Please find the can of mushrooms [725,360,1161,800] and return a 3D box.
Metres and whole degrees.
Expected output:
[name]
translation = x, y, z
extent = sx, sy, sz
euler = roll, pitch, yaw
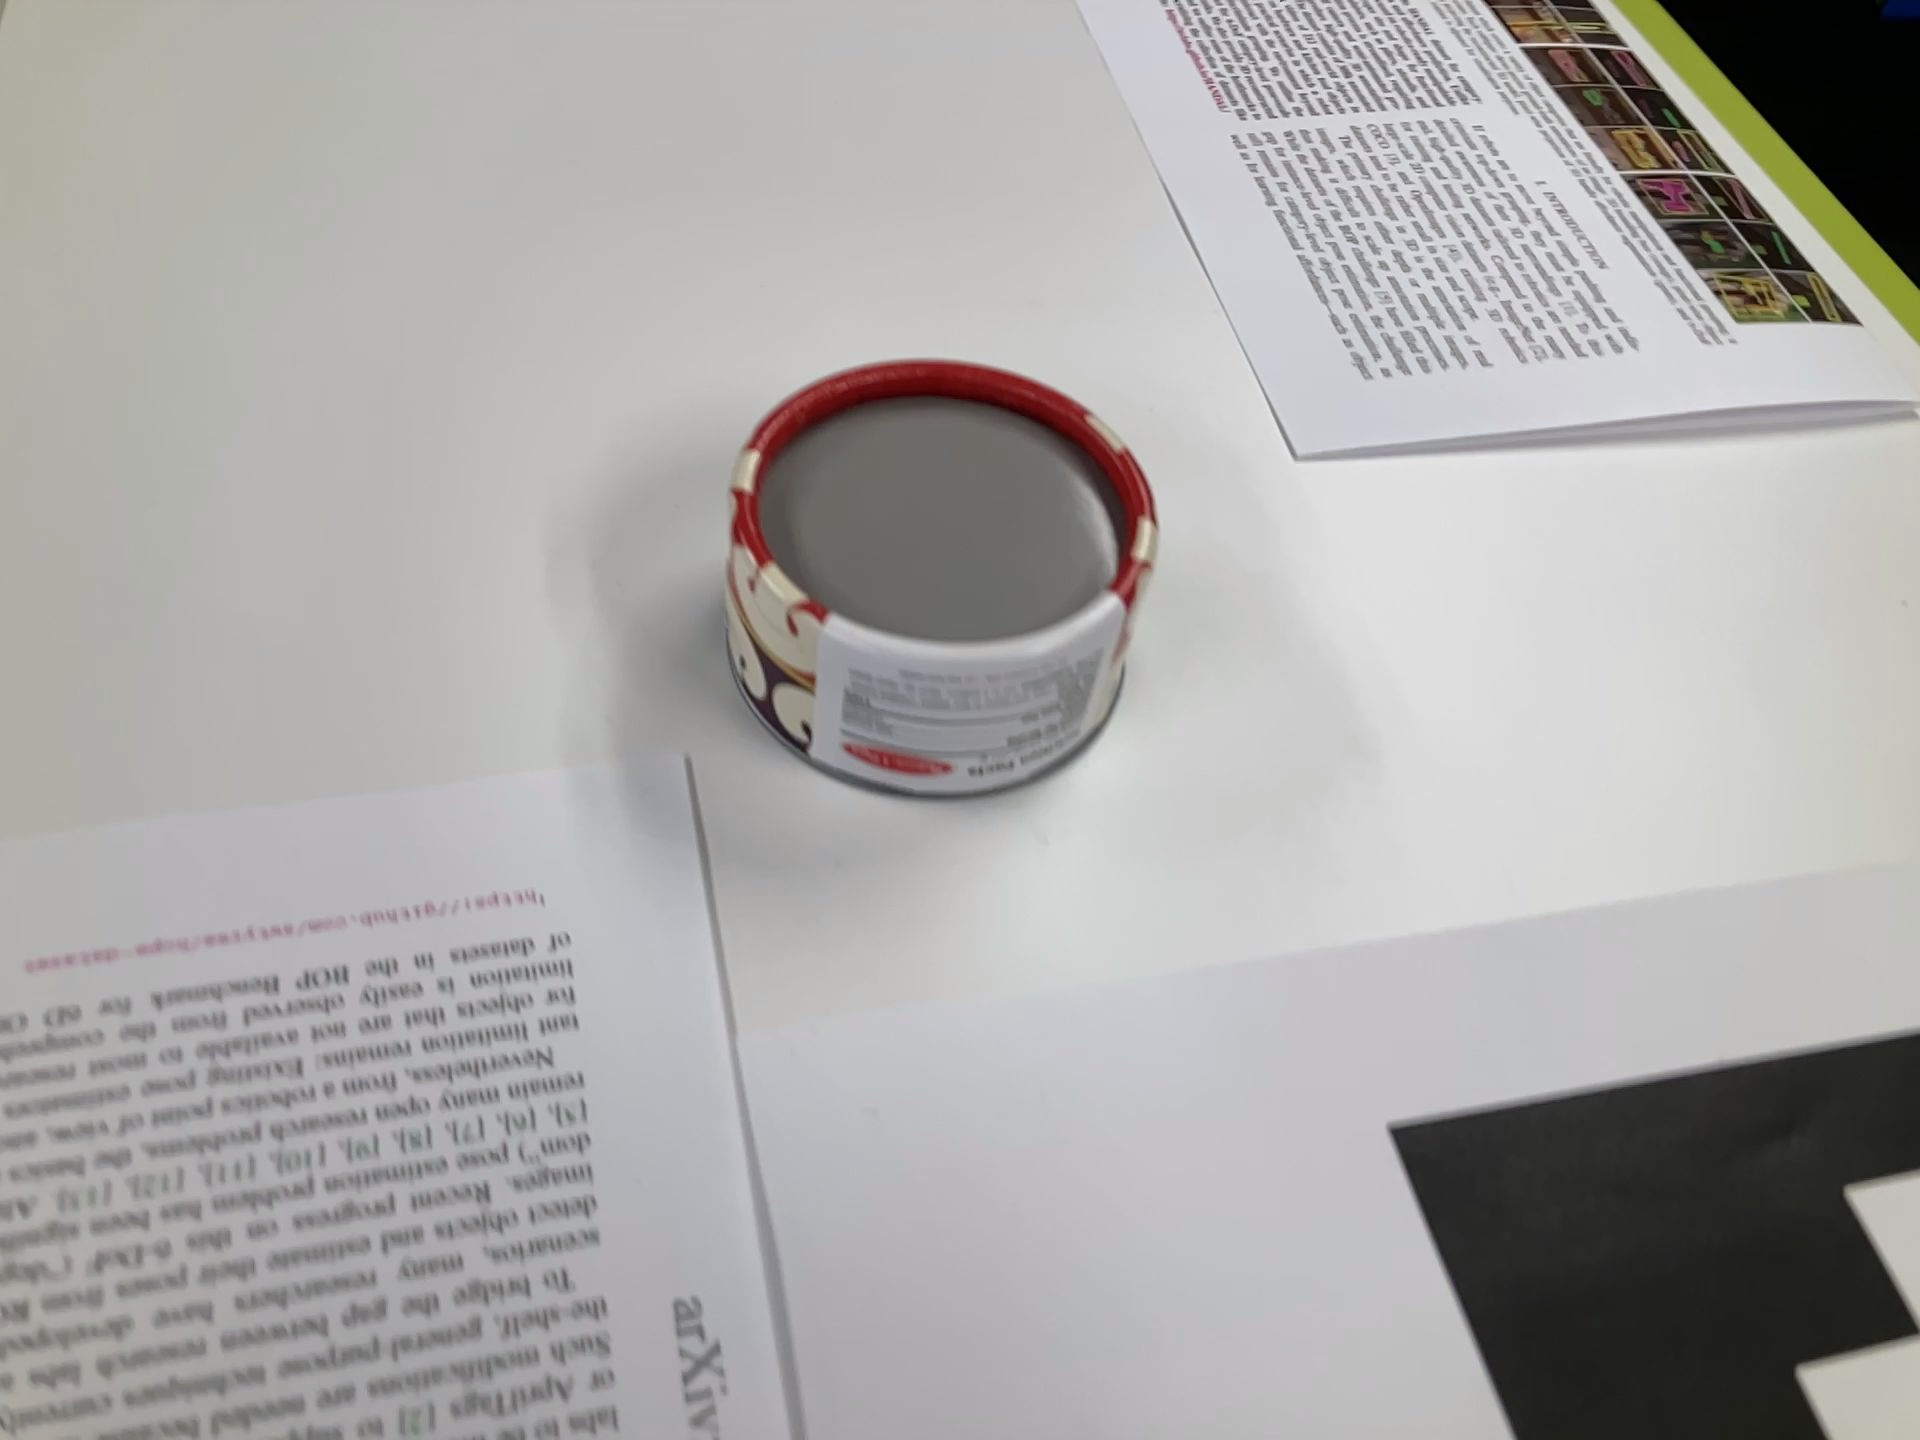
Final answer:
[can of mushrooms]
translation = -0.004, -0.025, 0.249
extent = 0.071, 0.033, 0.071
euler = 3, 51, -4
